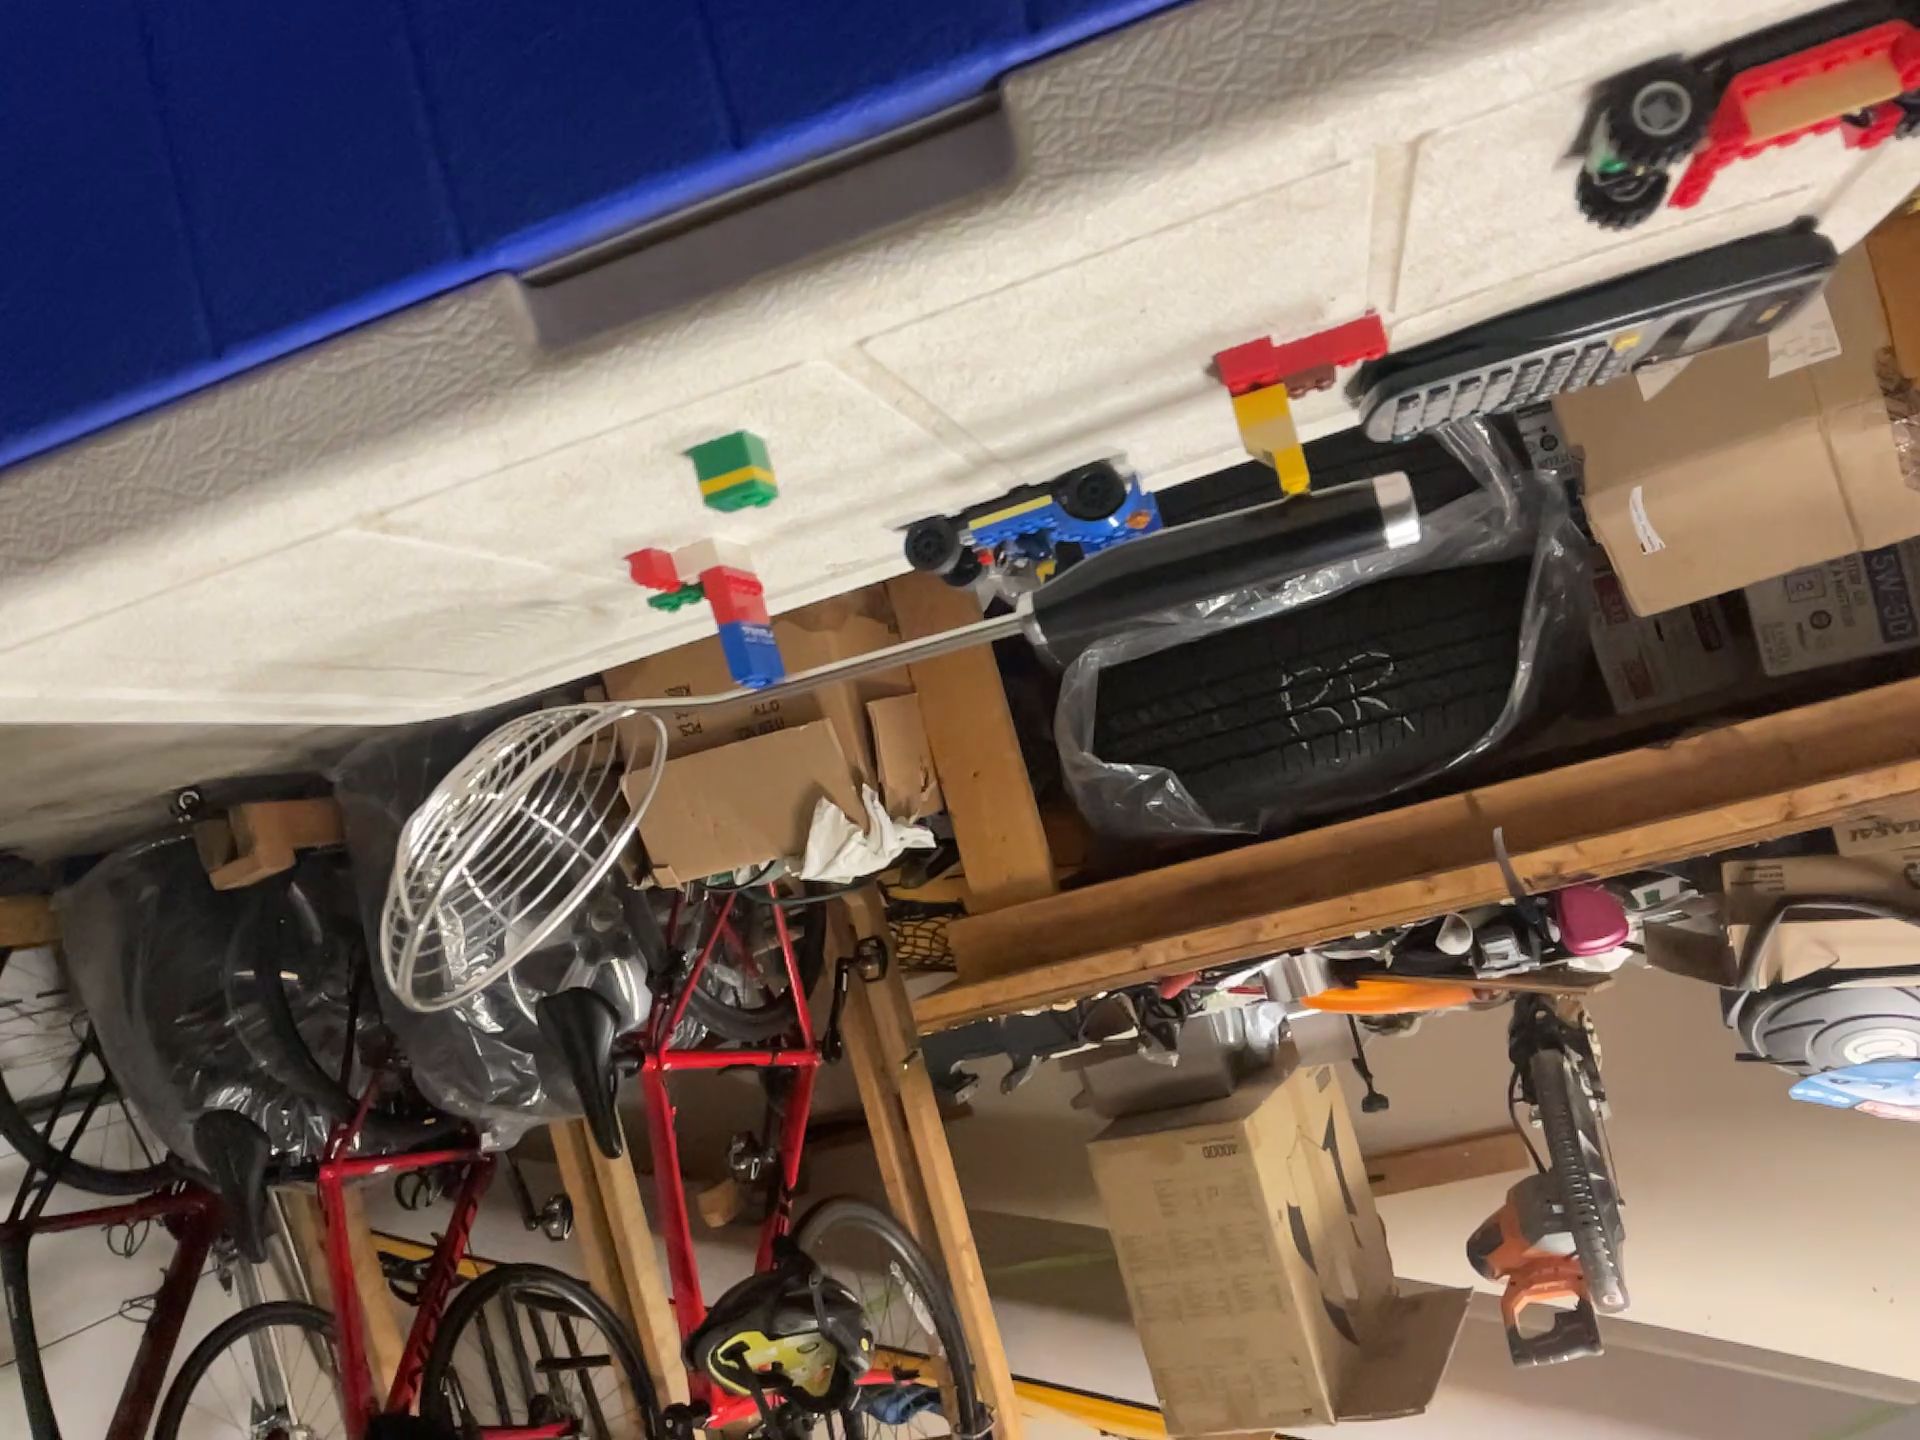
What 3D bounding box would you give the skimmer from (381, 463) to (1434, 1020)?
[{"bbox_3d":[-0.024,0.011,0.515,0.363,0.090,0.127,-16,178,13],"label":"skimmer"}]
